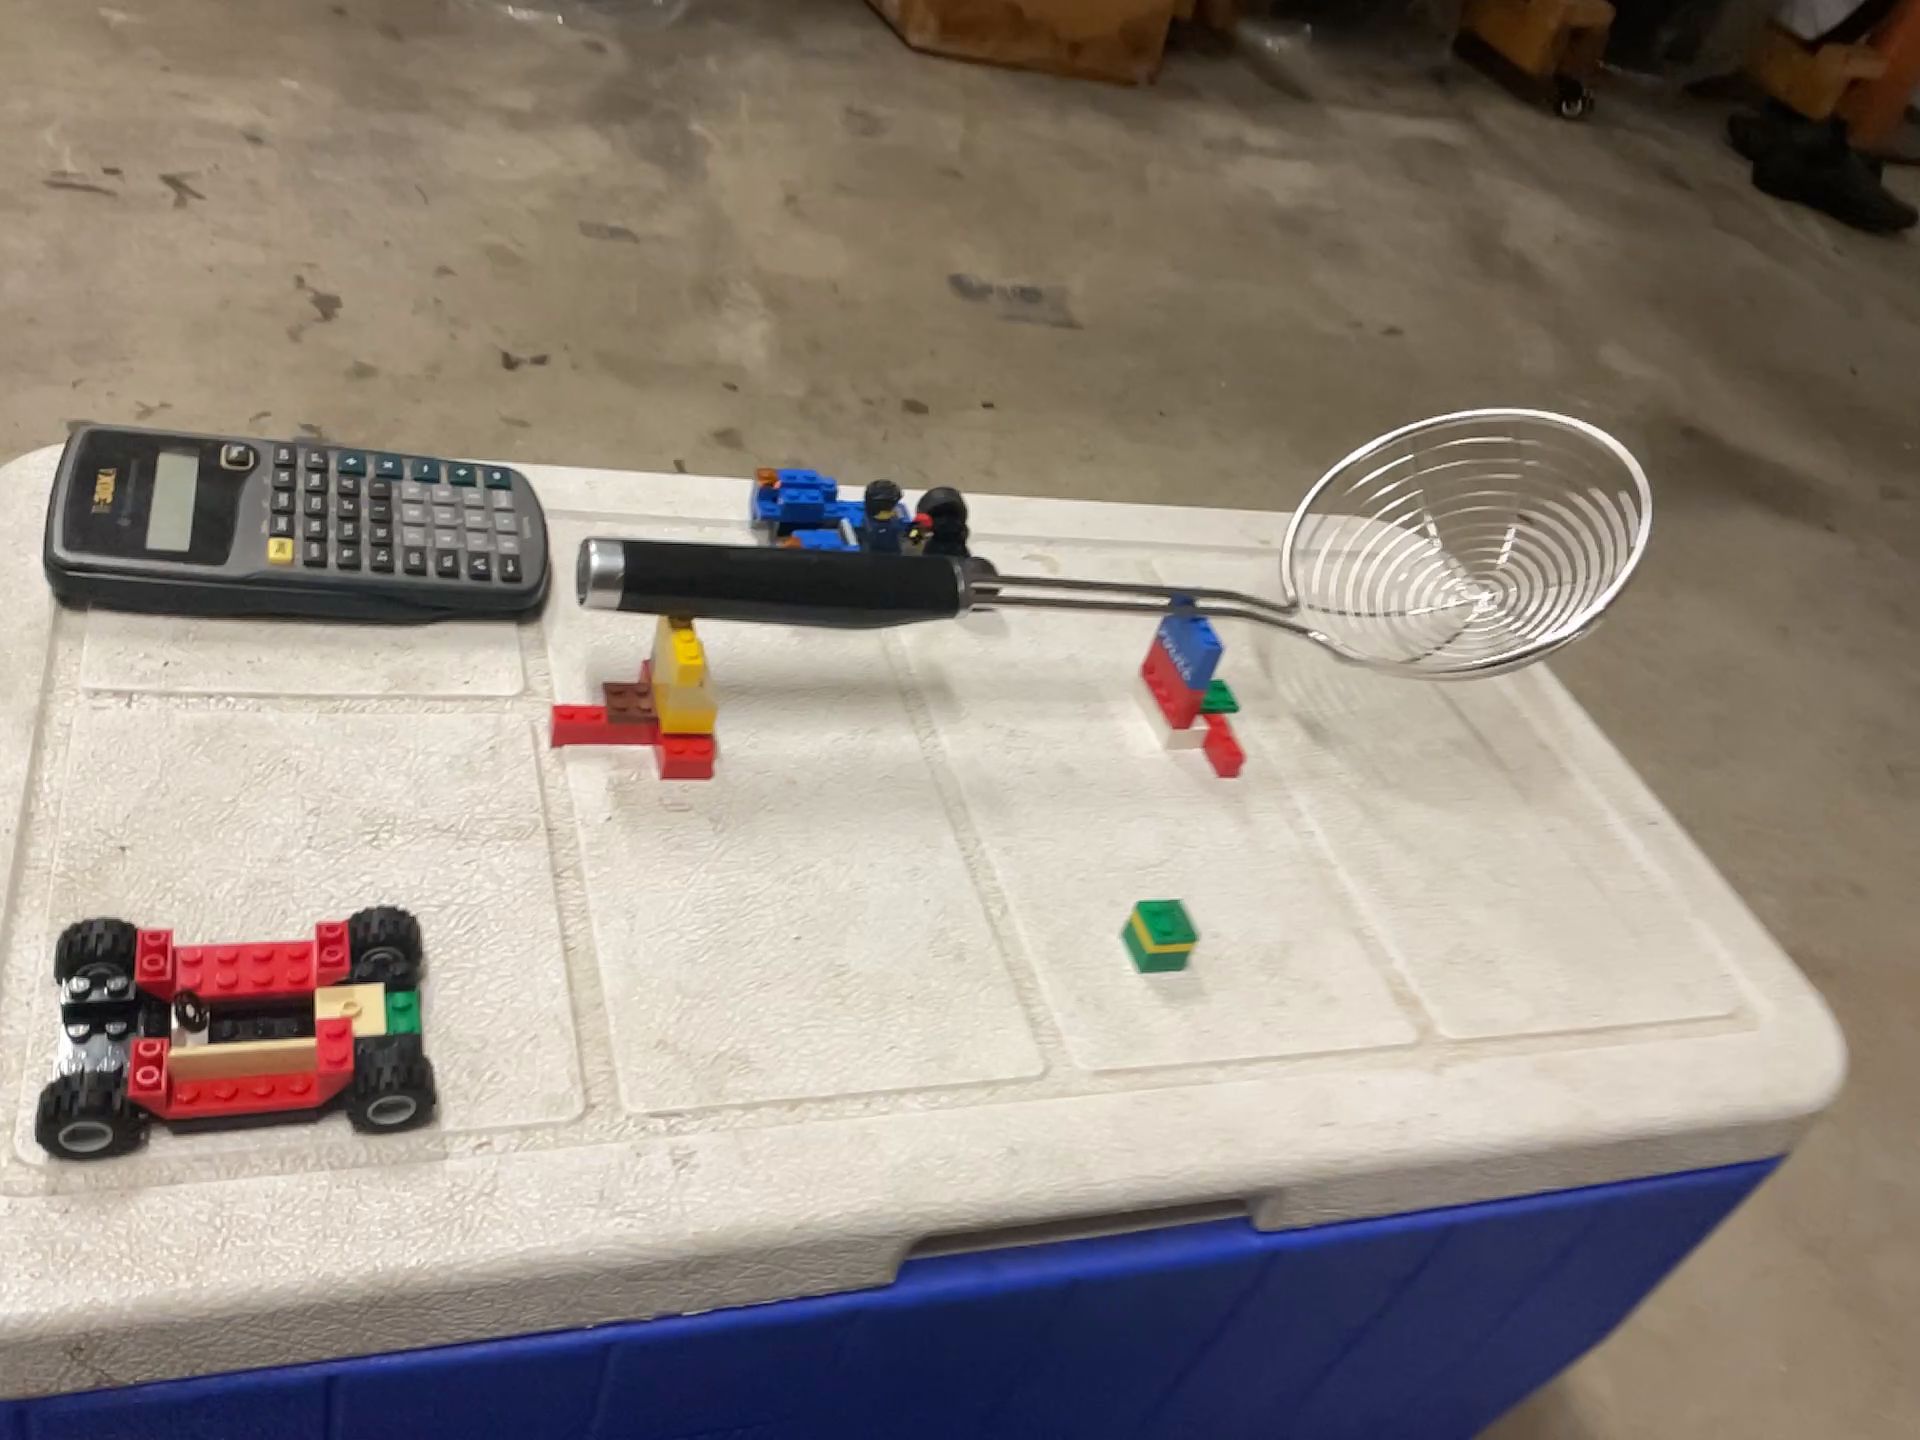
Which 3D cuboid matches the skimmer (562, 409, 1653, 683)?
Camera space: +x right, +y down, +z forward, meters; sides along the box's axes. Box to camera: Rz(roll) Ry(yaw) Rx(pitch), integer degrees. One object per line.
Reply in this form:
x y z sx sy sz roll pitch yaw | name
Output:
0.059 -0.064 0.521 0.363 0.089 0.128 0 40 -24 | skimmer
